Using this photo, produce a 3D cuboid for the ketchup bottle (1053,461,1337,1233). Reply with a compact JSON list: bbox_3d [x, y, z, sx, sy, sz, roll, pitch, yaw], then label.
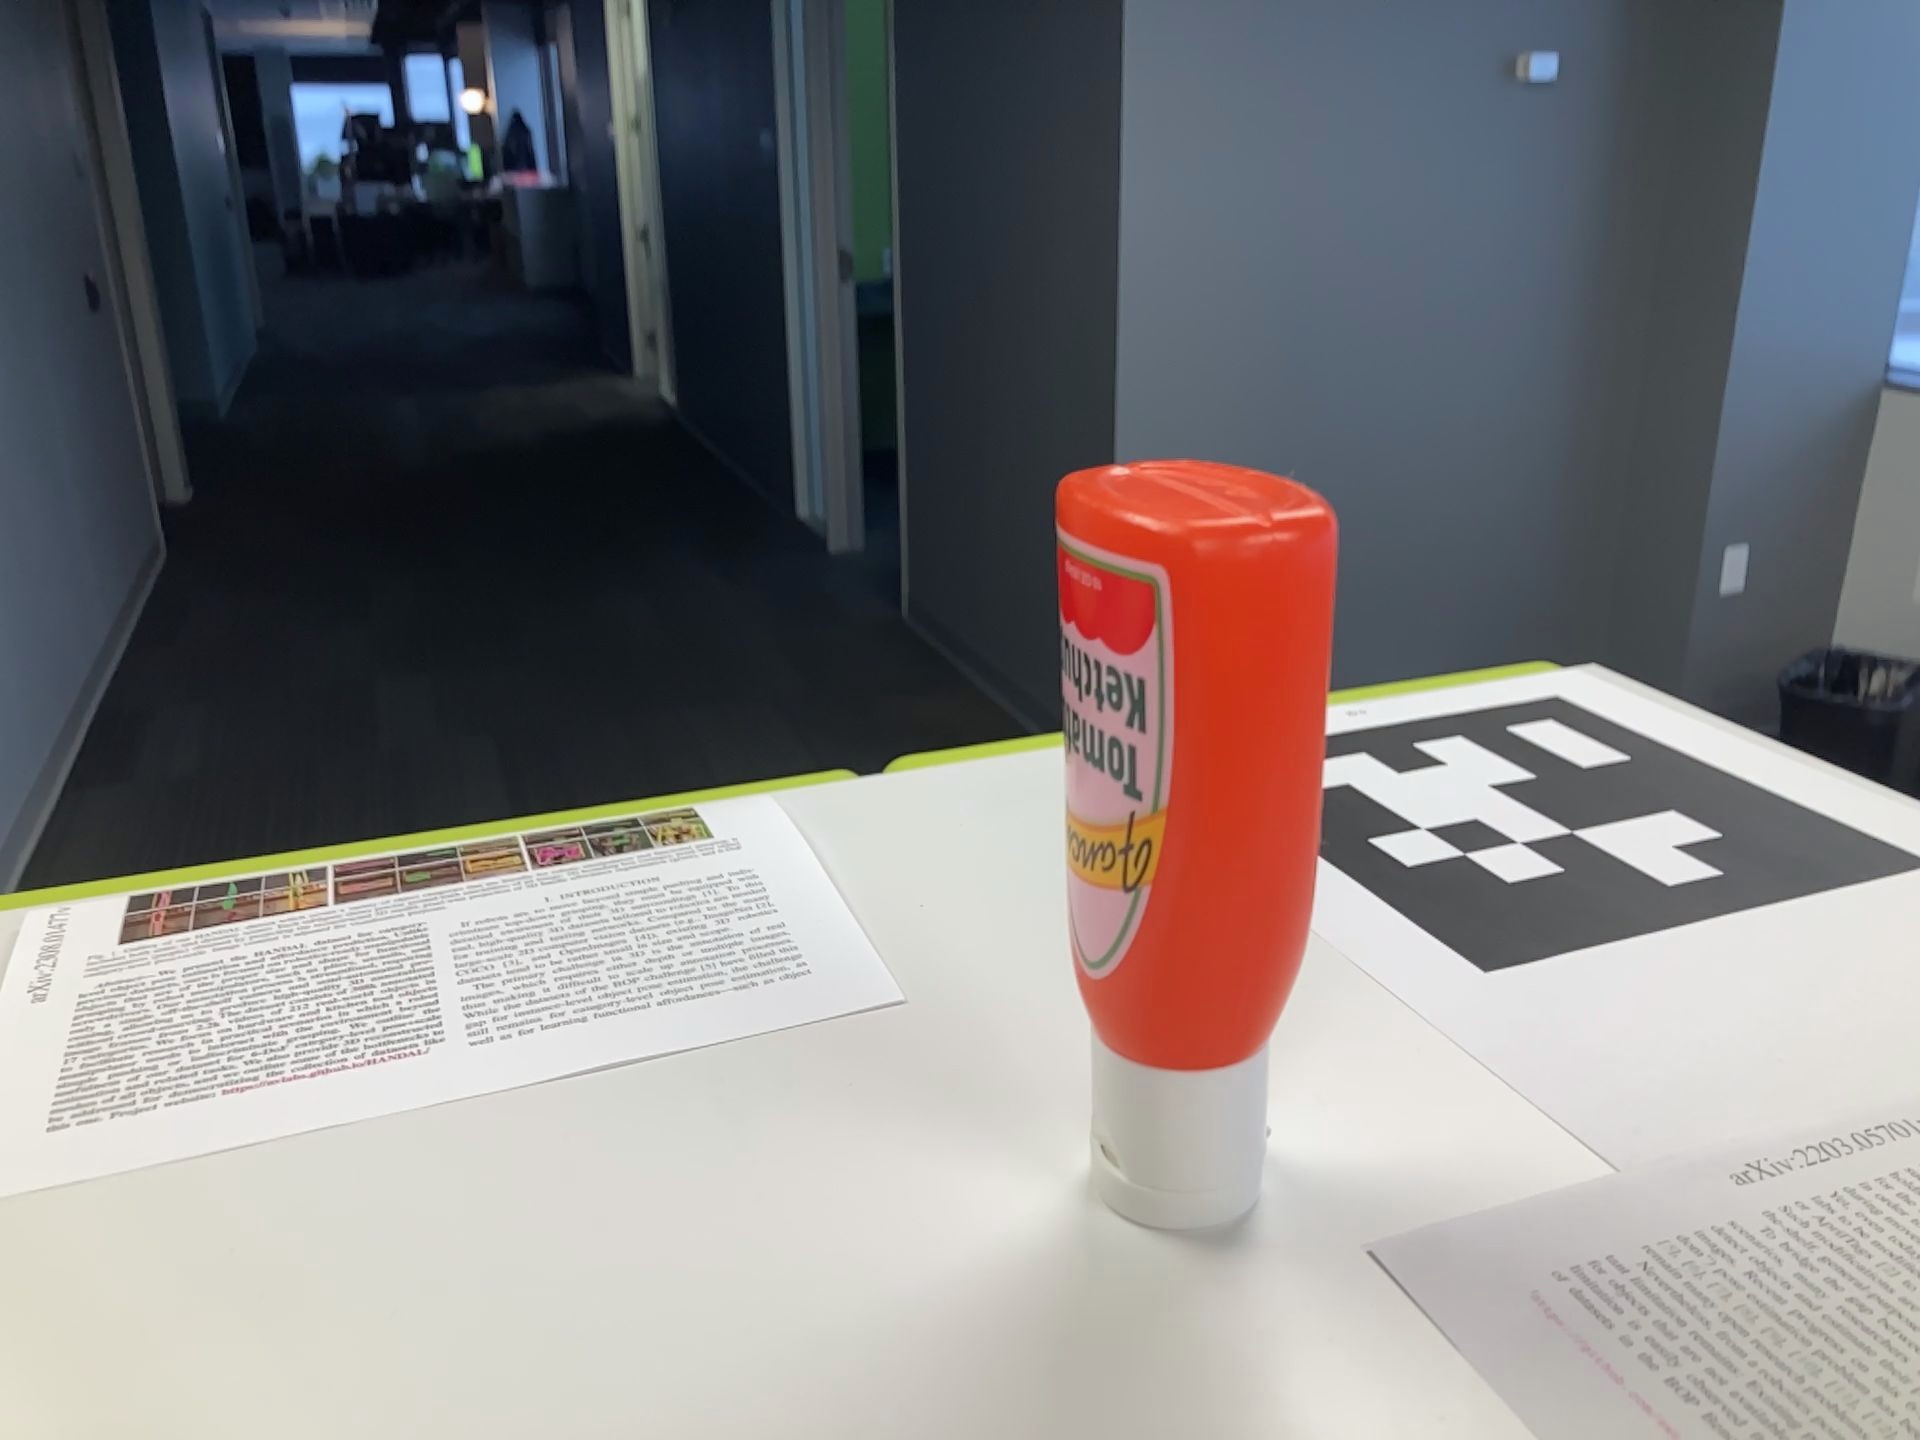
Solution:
[{"bbox_3d":[0.044,0.027,0.310,0.043,0.149,0.065,-8,20,-18],"label":"ketchup bottle"}]
